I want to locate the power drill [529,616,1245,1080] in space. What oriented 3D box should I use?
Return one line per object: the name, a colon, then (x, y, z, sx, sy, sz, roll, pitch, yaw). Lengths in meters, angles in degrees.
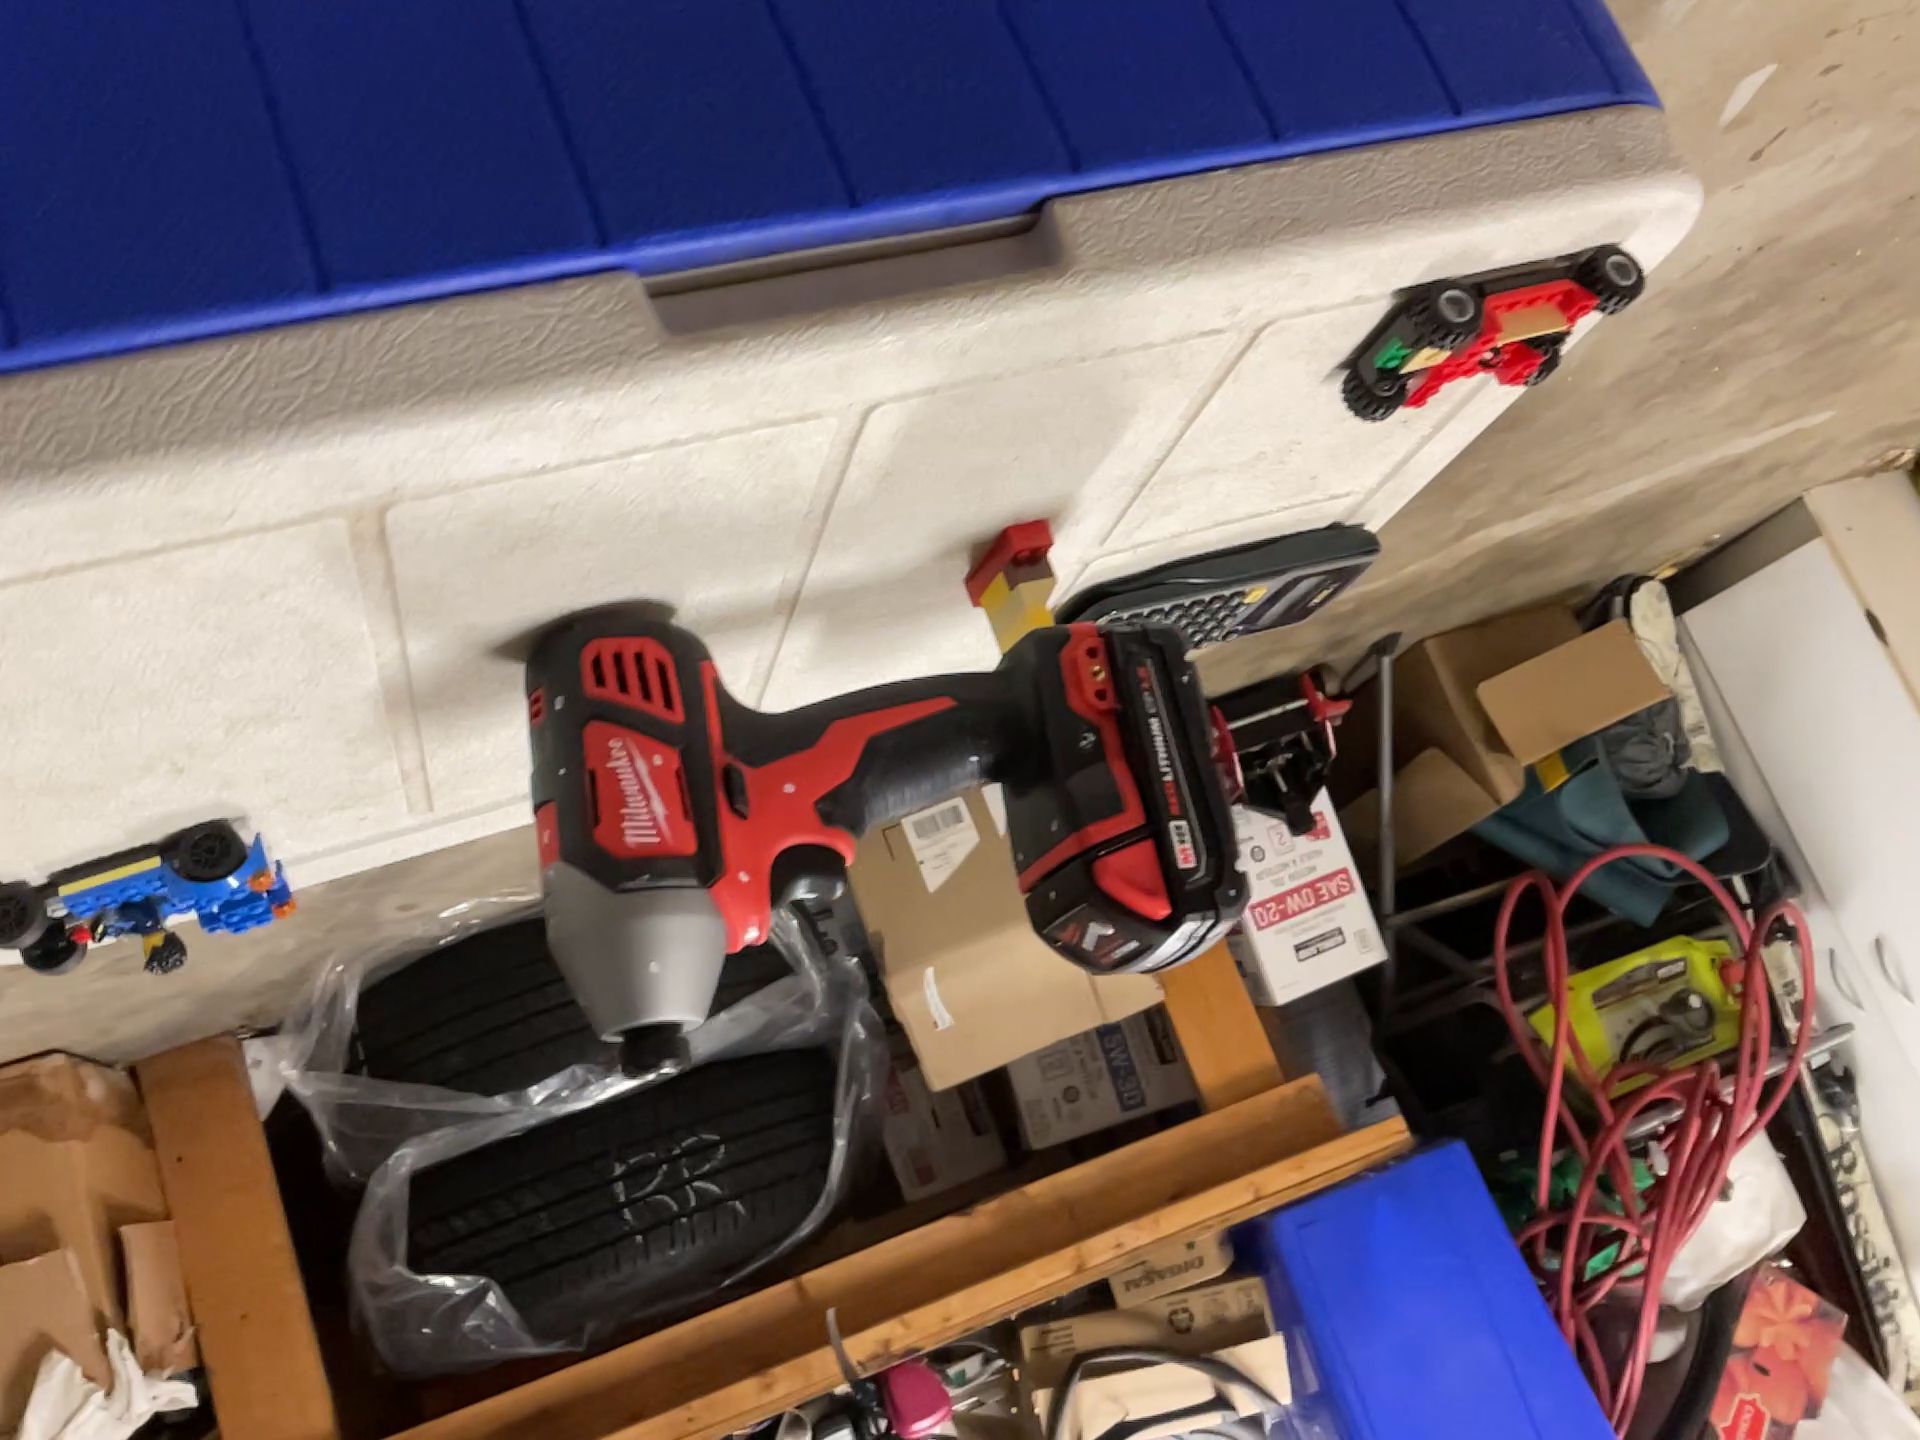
power drill: (-0.027, 0.038, 0.527, 0.219, 0.143, 0.078, -2, 159, -21)
